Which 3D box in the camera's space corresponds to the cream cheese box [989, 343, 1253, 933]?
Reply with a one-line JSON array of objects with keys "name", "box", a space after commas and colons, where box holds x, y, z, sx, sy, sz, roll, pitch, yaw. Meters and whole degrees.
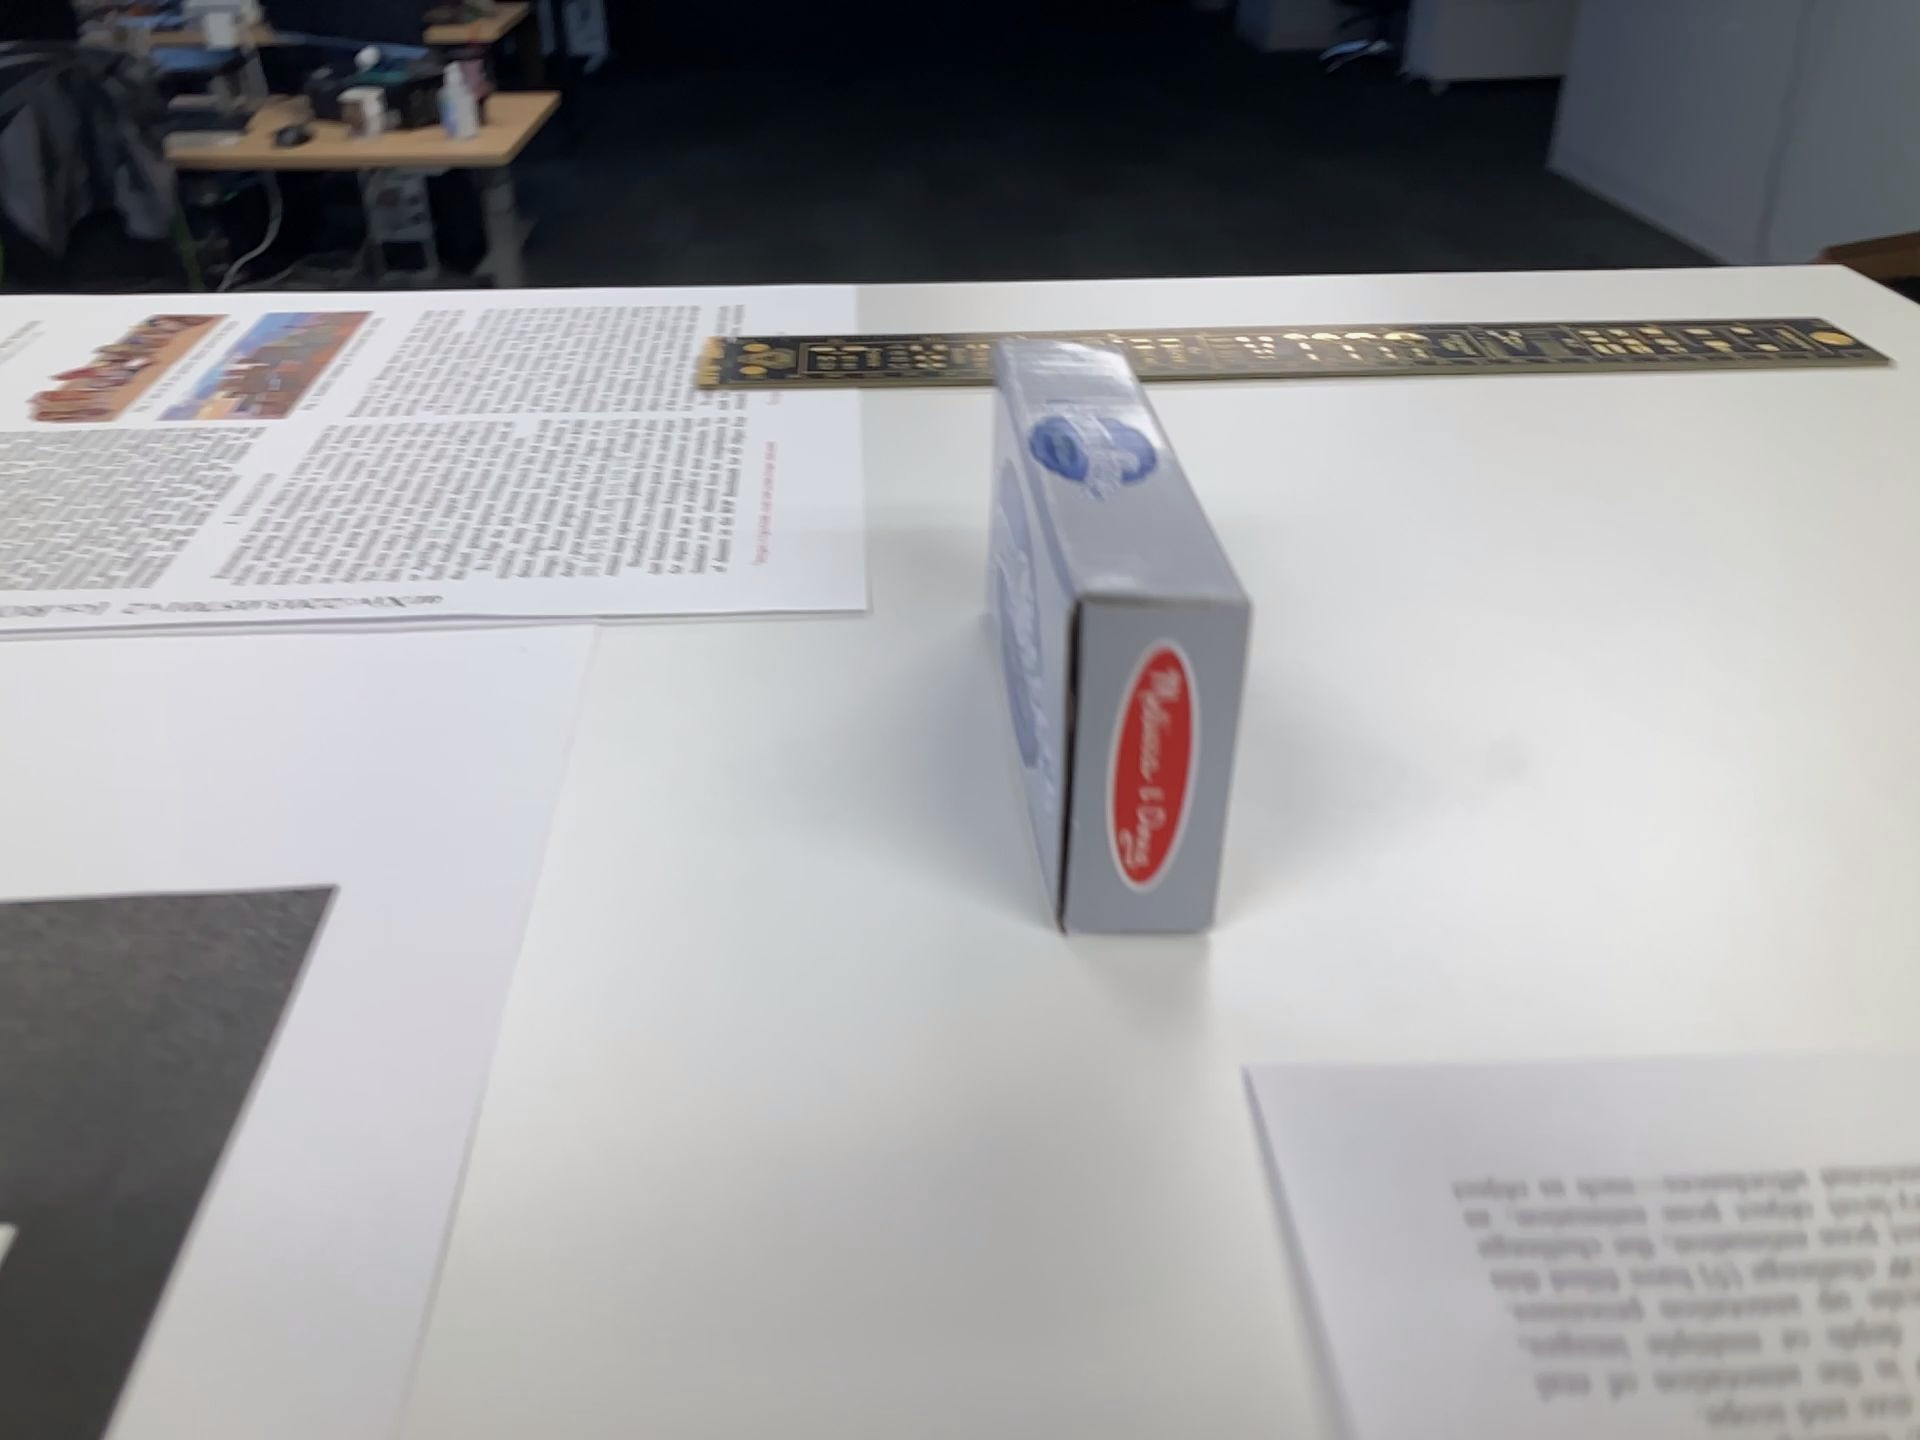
[{"name": "cream cheese box", "box": [0.021, -0.019, 0.251, 0.024, 0.053, 0.104, 0, 31, -4]}]
